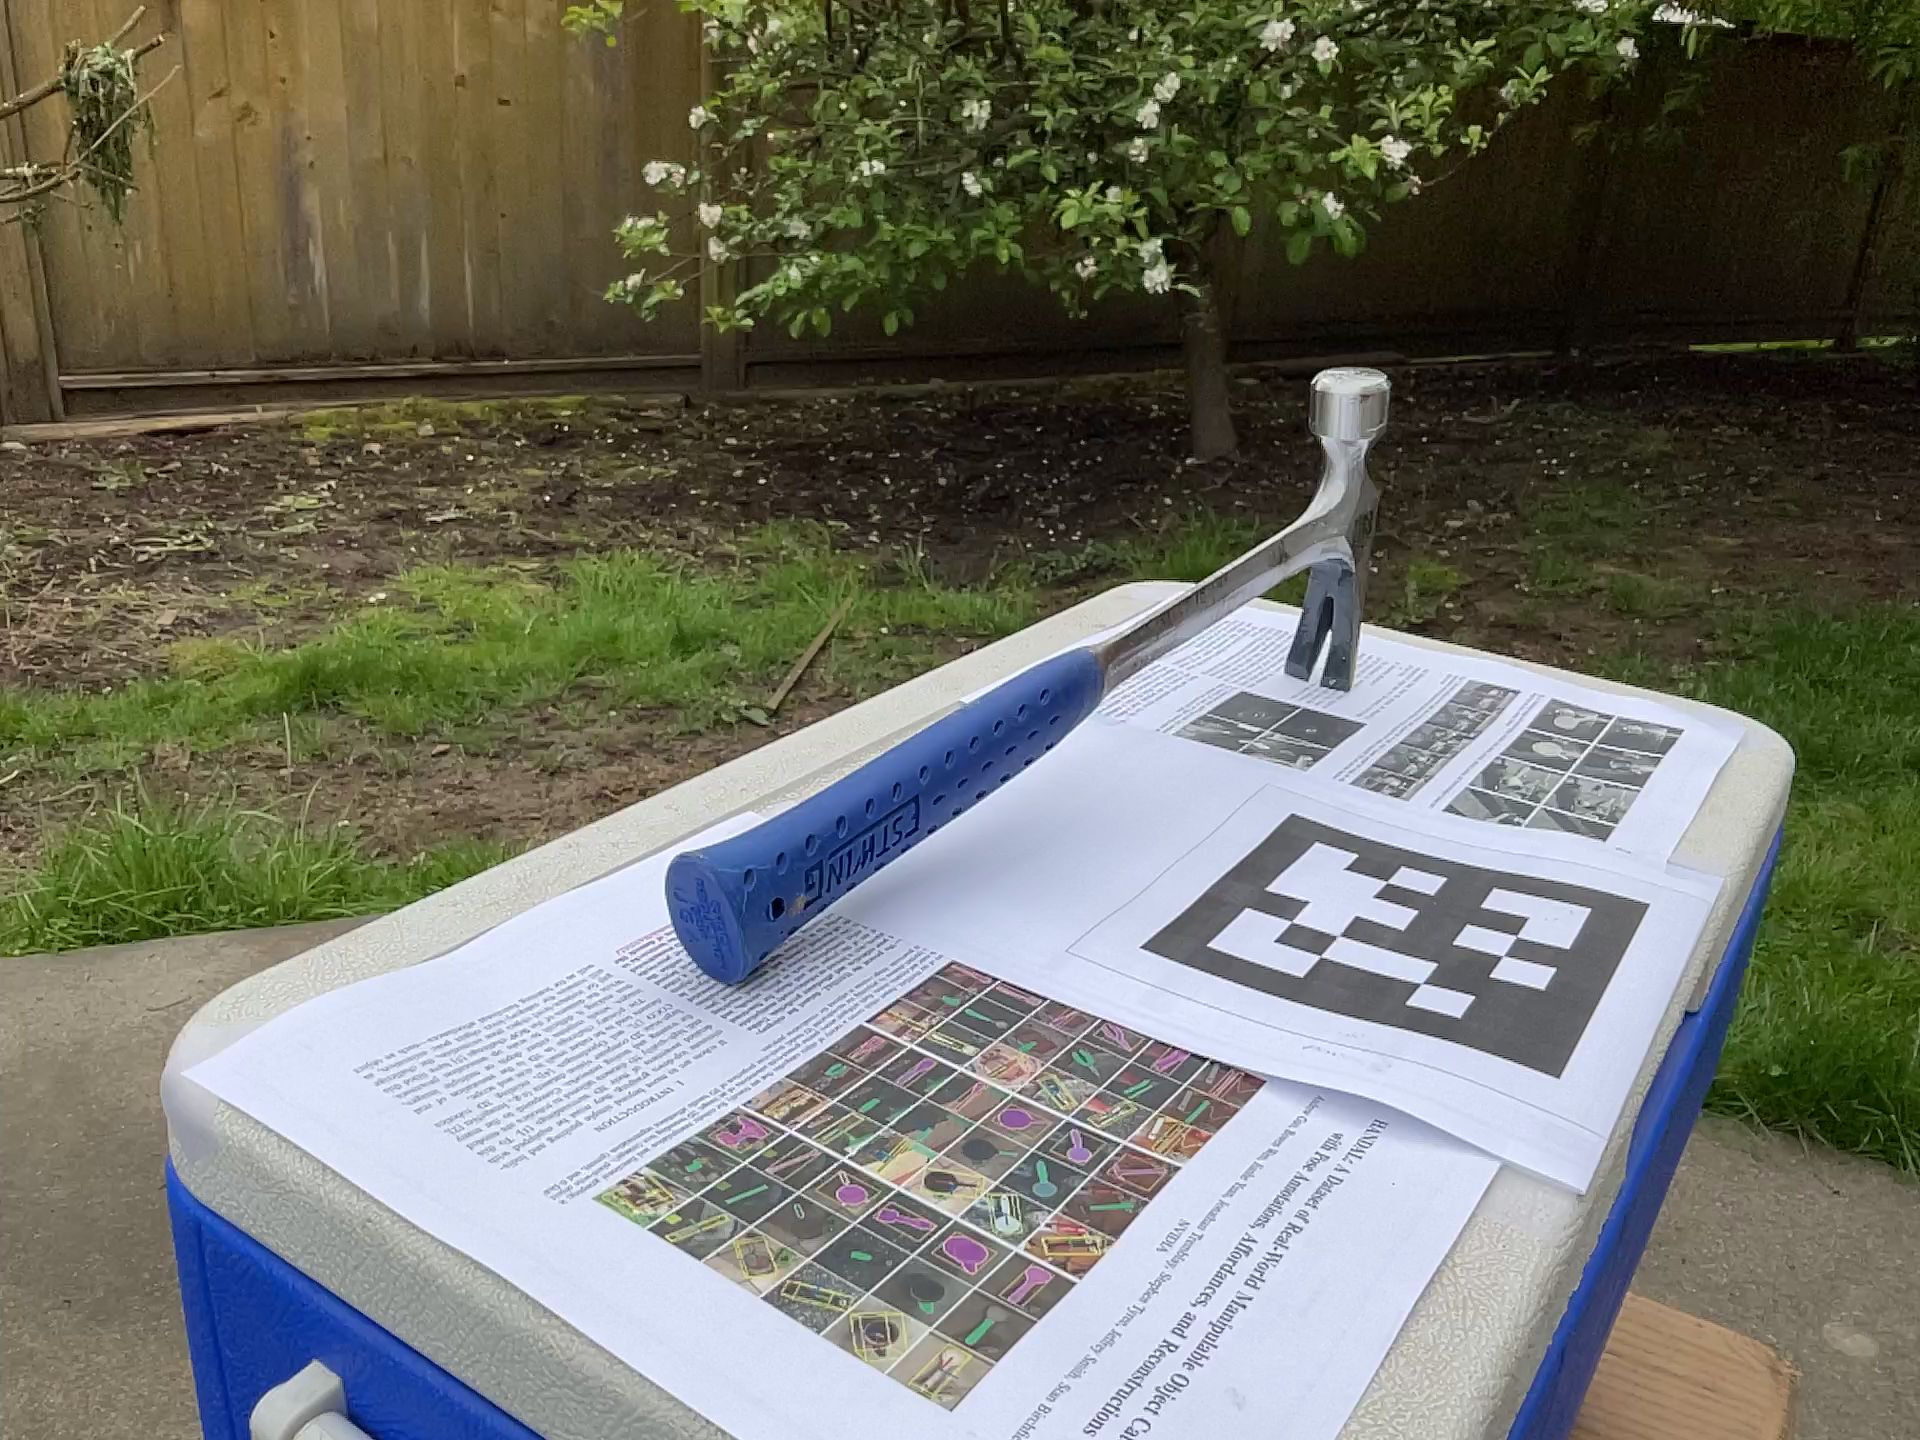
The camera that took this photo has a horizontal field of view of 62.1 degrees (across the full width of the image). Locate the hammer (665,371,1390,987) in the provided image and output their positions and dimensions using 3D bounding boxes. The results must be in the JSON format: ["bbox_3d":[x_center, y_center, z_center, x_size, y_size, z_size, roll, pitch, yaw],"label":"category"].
[{"bbox_3d":[0.055,-0.013,0.601,0.035,0.144,0.405,19,35,36],"label":"hammer"}]
